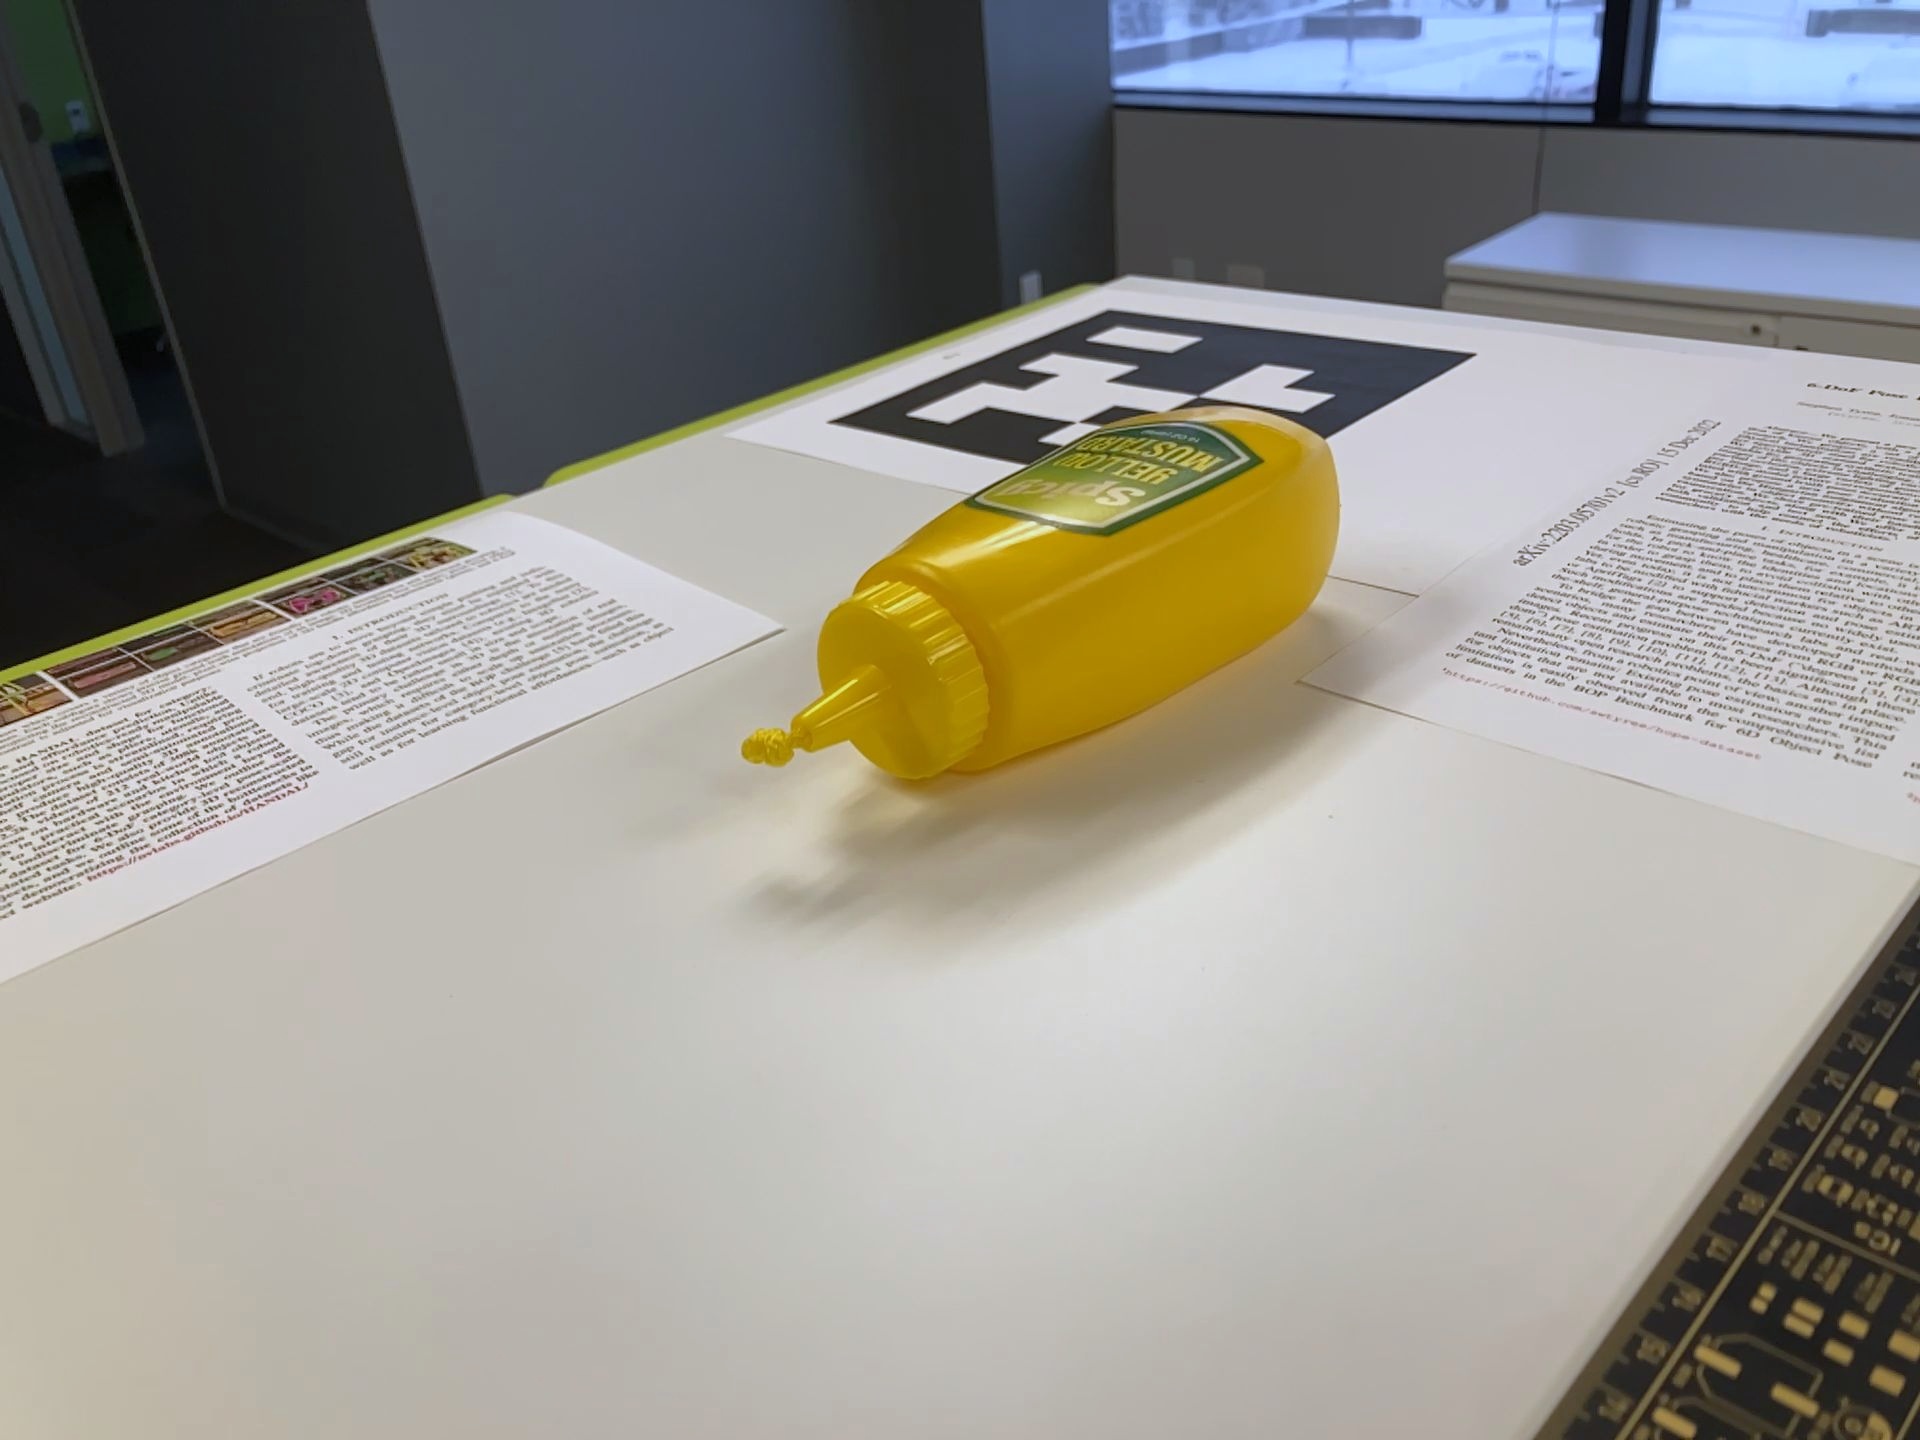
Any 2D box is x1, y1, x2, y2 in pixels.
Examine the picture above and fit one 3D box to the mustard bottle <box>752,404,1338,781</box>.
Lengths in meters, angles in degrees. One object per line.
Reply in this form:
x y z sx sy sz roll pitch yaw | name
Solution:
0.018 -0.025 0.341 0.065 0.049 0.160 18 36 40 | mustard bottle
